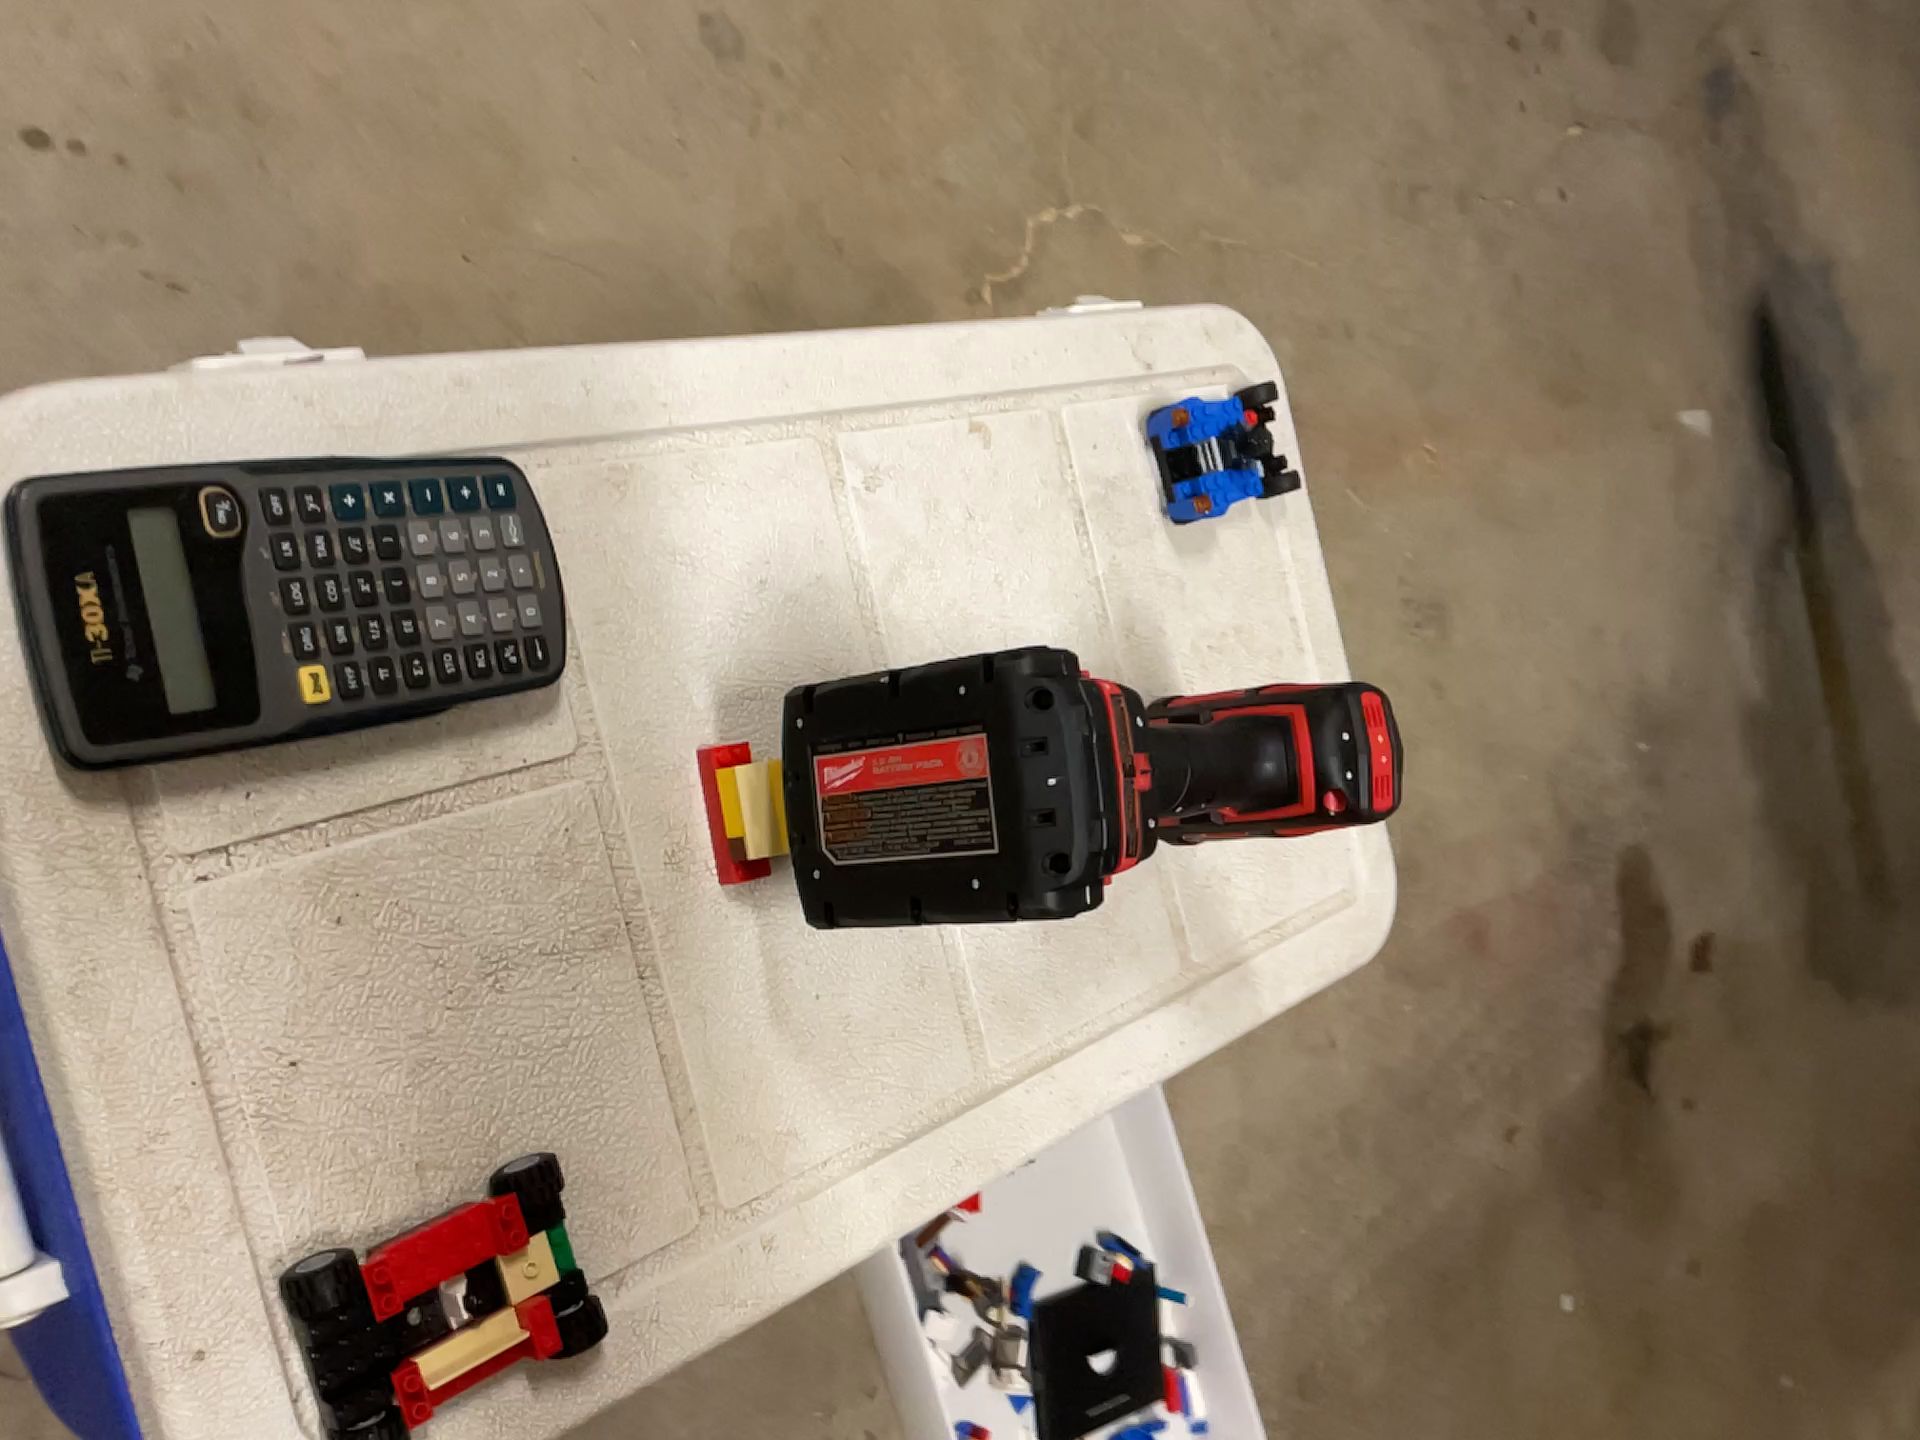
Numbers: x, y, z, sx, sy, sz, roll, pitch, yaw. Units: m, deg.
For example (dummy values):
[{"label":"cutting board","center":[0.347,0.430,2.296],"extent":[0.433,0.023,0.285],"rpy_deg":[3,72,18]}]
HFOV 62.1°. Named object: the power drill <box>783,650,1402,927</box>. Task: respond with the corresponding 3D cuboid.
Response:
[{"label":"power drill","center":[0.048,0.021,0.569],"extent":[0.220,0.143,0.078],"rpy_deg":[-2,86,-50]}]
